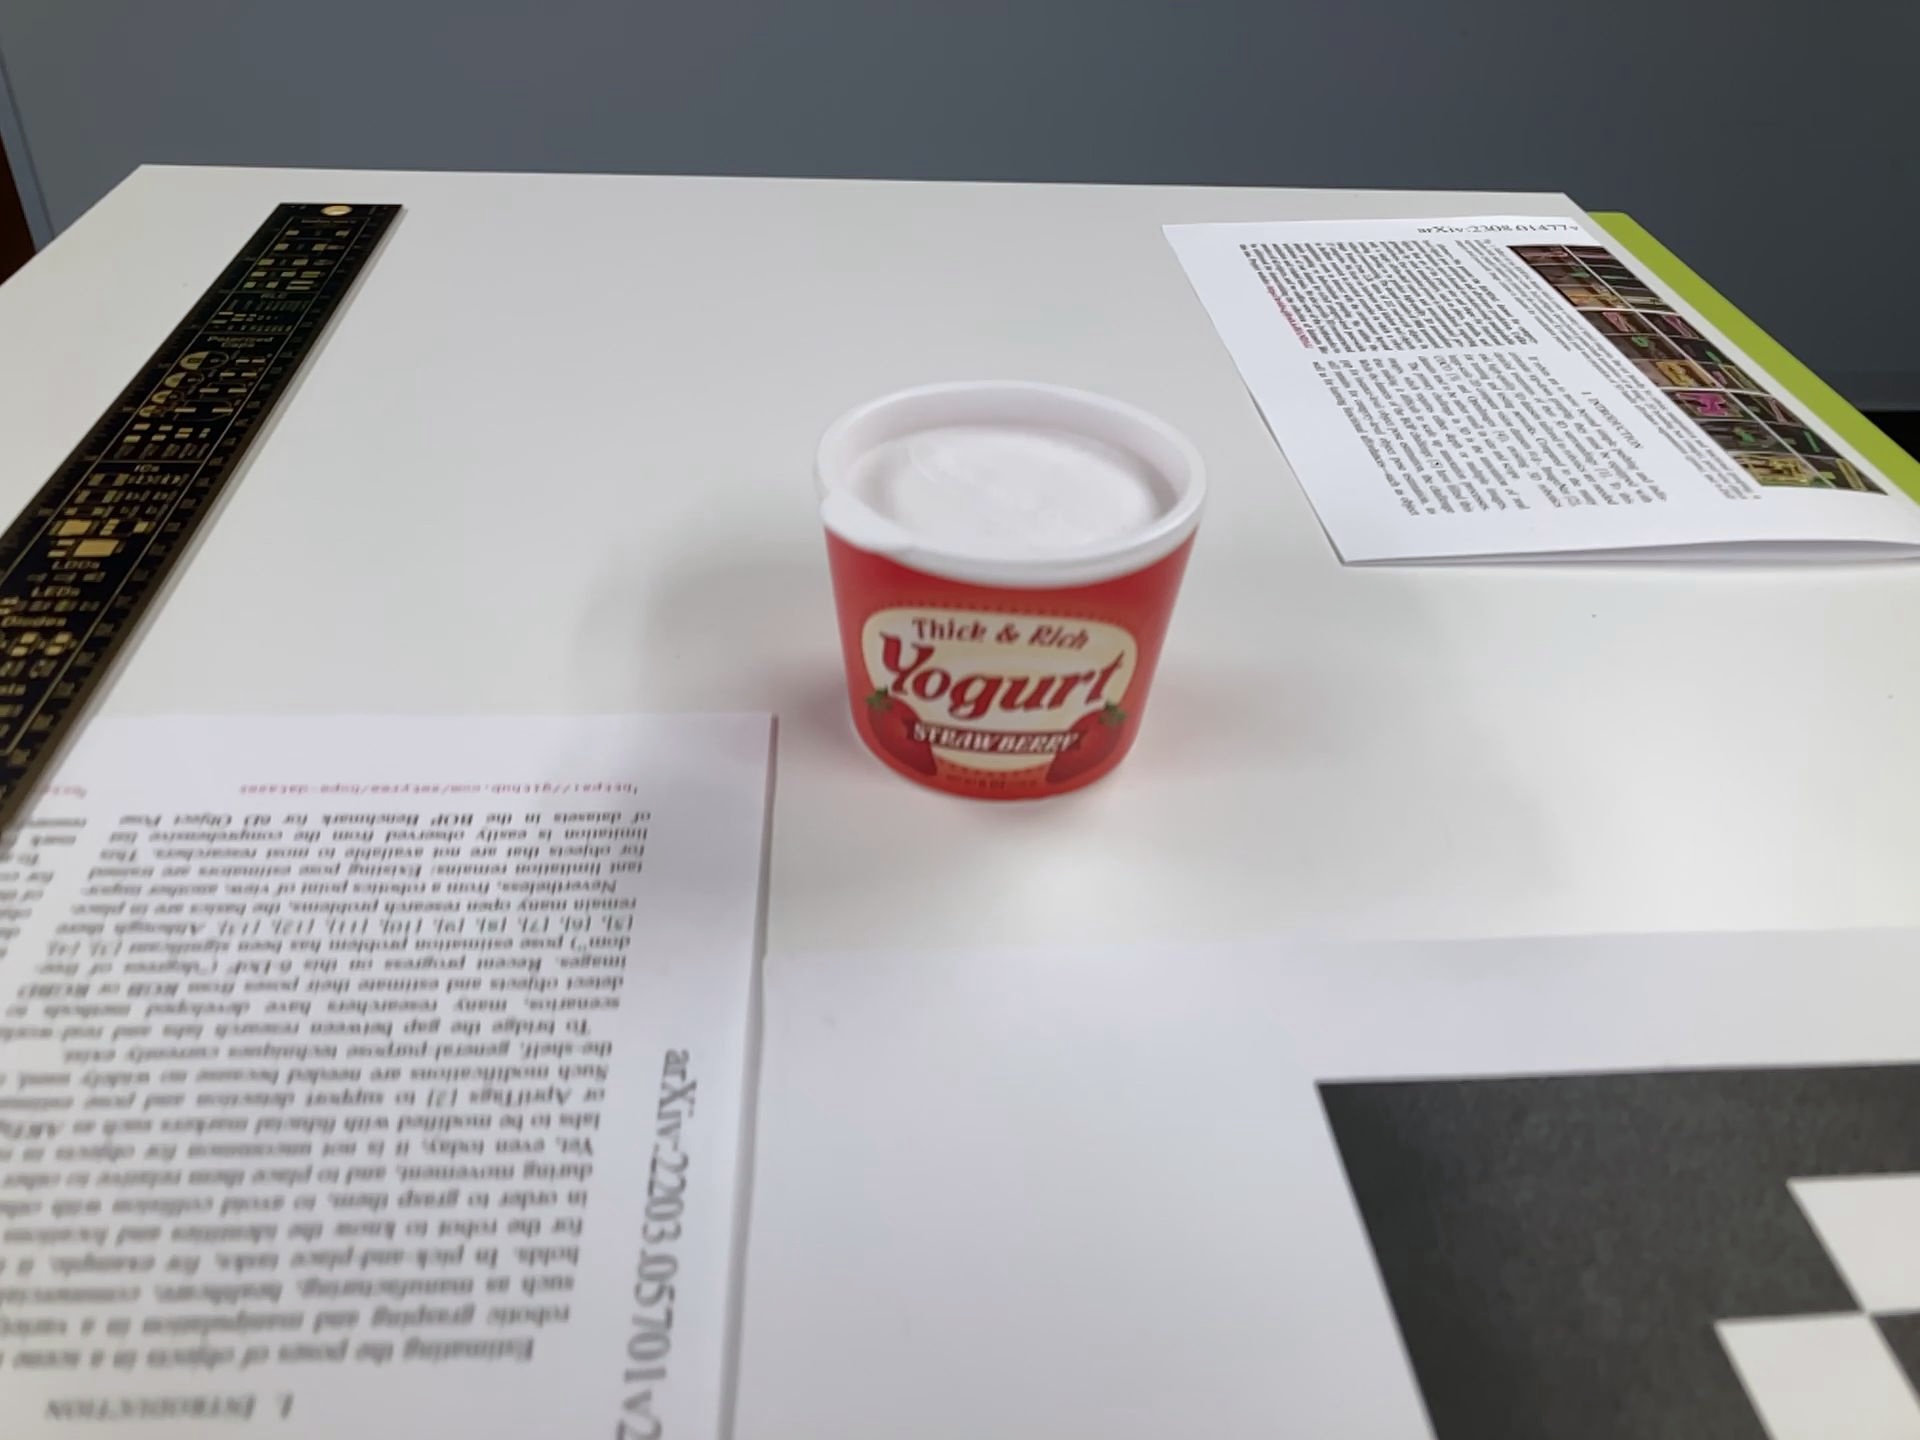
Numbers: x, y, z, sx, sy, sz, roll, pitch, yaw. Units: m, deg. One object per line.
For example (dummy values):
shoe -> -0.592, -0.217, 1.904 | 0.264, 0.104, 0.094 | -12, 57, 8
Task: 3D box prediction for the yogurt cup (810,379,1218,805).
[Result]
yogurt cup -> 0.008, -0.022, 0.278 | 0.072, 0.054, 0.072 | 3, 35, -2
